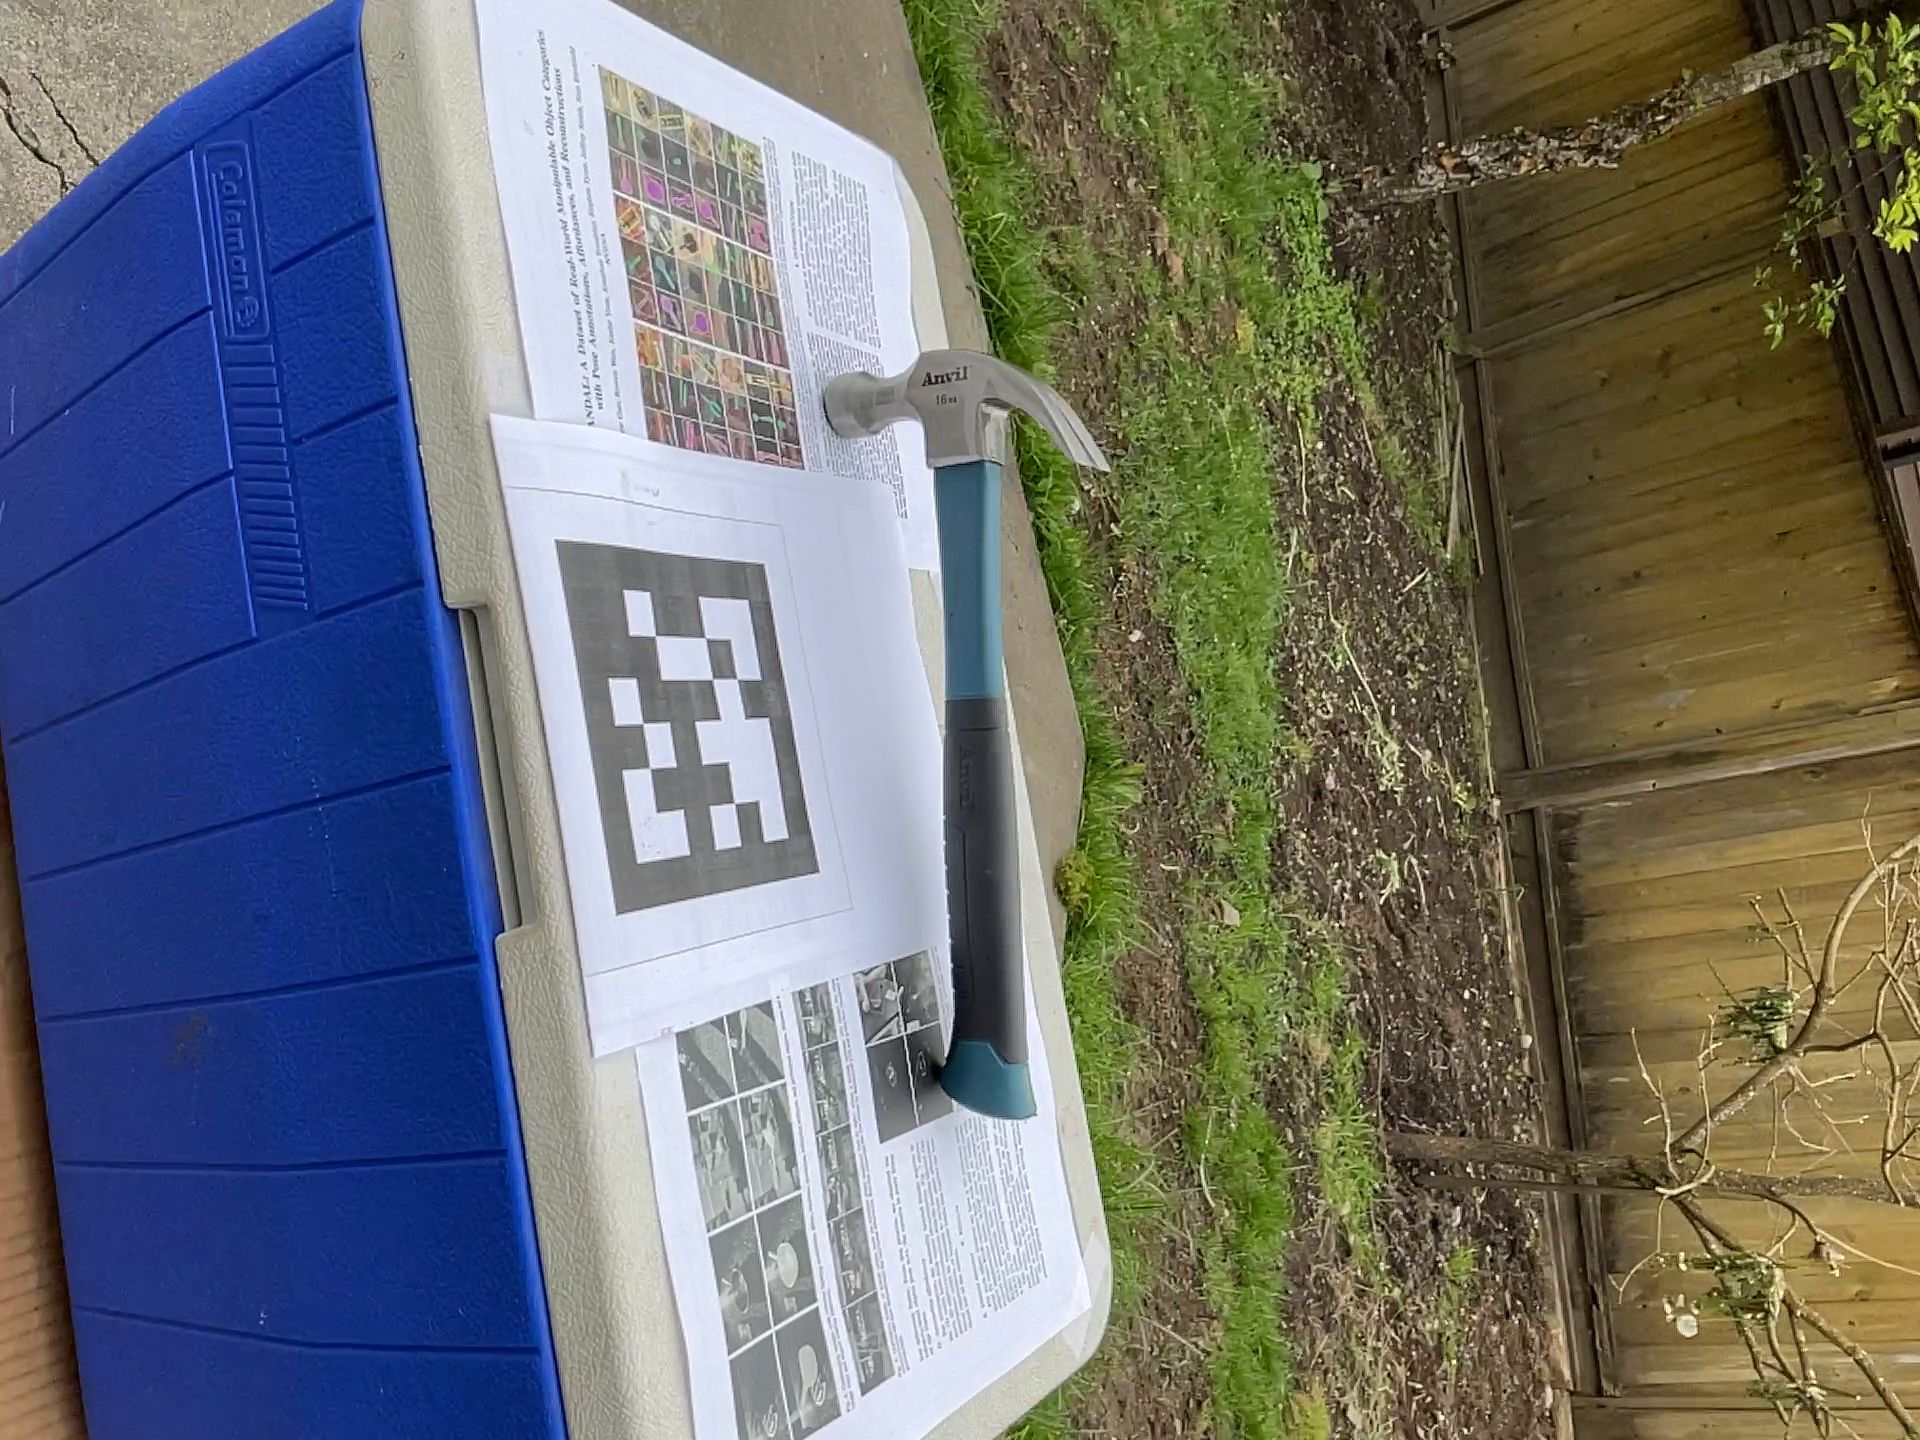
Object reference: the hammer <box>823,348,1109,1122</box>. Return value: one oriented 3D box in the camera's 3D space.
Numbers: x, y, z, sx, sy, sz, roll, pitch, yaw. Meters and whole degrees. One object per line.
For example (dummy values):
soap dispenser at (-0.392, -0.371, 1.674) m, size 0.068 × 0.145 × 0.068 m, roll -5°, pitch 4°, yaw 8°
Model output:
hammer at (0.005, 0.004, 0.688) m, size 0.033 × 0.128 × 0.331 m, roll 0°, pitch 87°, yaw -58°
